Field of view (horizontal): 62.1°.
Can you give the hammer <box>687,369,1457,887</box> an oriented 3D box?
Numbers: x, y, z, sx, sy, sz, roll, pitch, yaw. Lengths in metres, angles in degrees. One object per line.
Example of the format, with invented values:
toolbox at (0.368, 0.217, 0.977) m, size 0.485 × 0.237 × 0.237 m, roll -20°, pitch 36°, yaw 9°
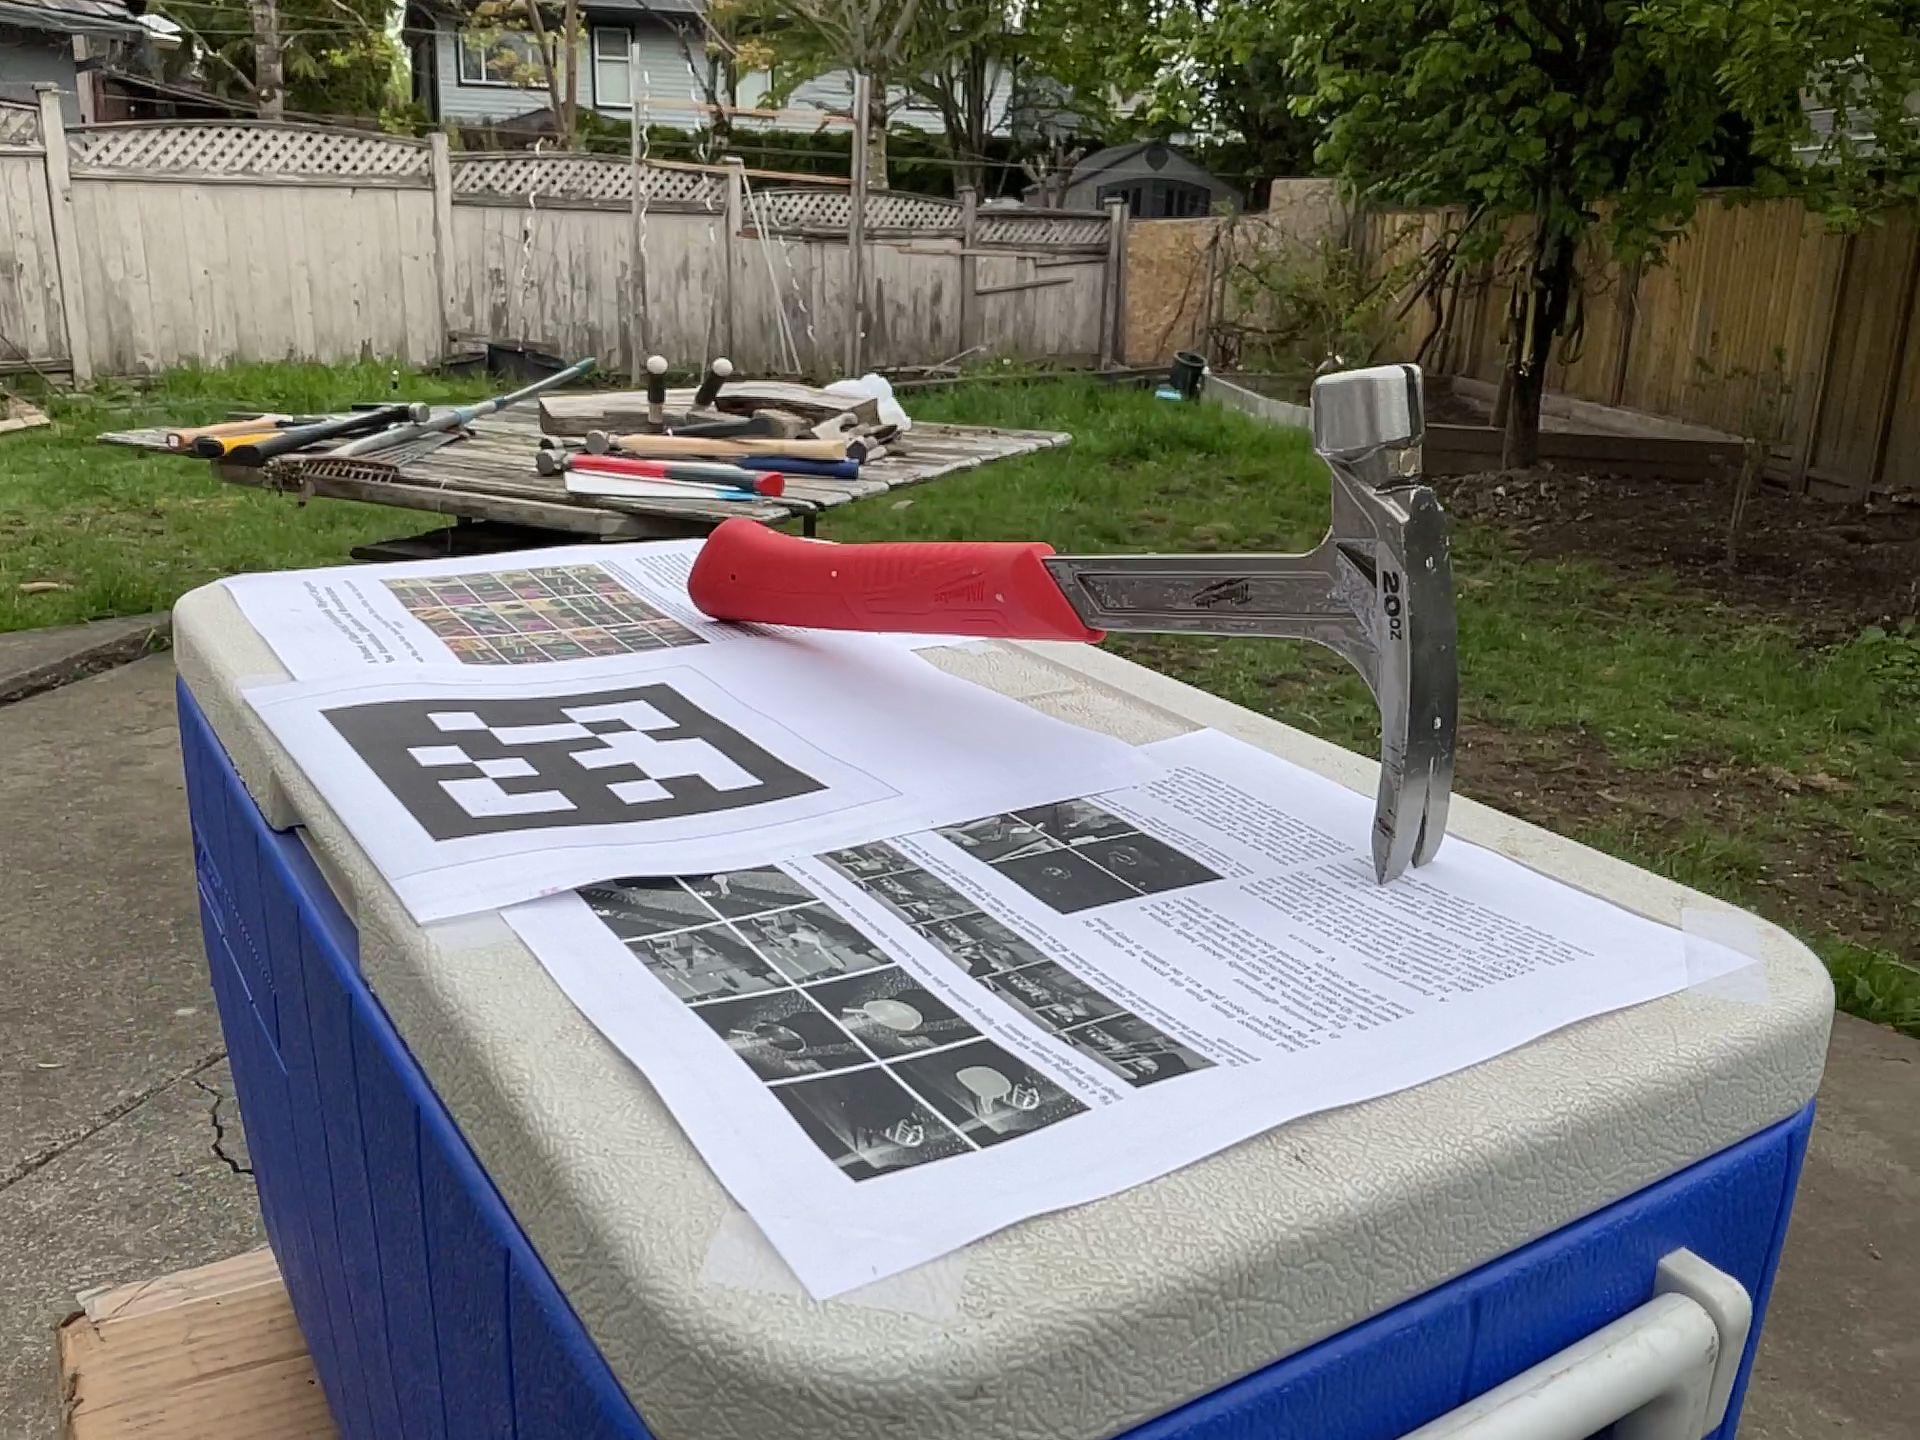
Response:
hammer at (0.014, -0.037, 0.589) m, size 0.036 × 0.149 × 0.359 m, roll -14°, pitch 13°, yaw -41°
